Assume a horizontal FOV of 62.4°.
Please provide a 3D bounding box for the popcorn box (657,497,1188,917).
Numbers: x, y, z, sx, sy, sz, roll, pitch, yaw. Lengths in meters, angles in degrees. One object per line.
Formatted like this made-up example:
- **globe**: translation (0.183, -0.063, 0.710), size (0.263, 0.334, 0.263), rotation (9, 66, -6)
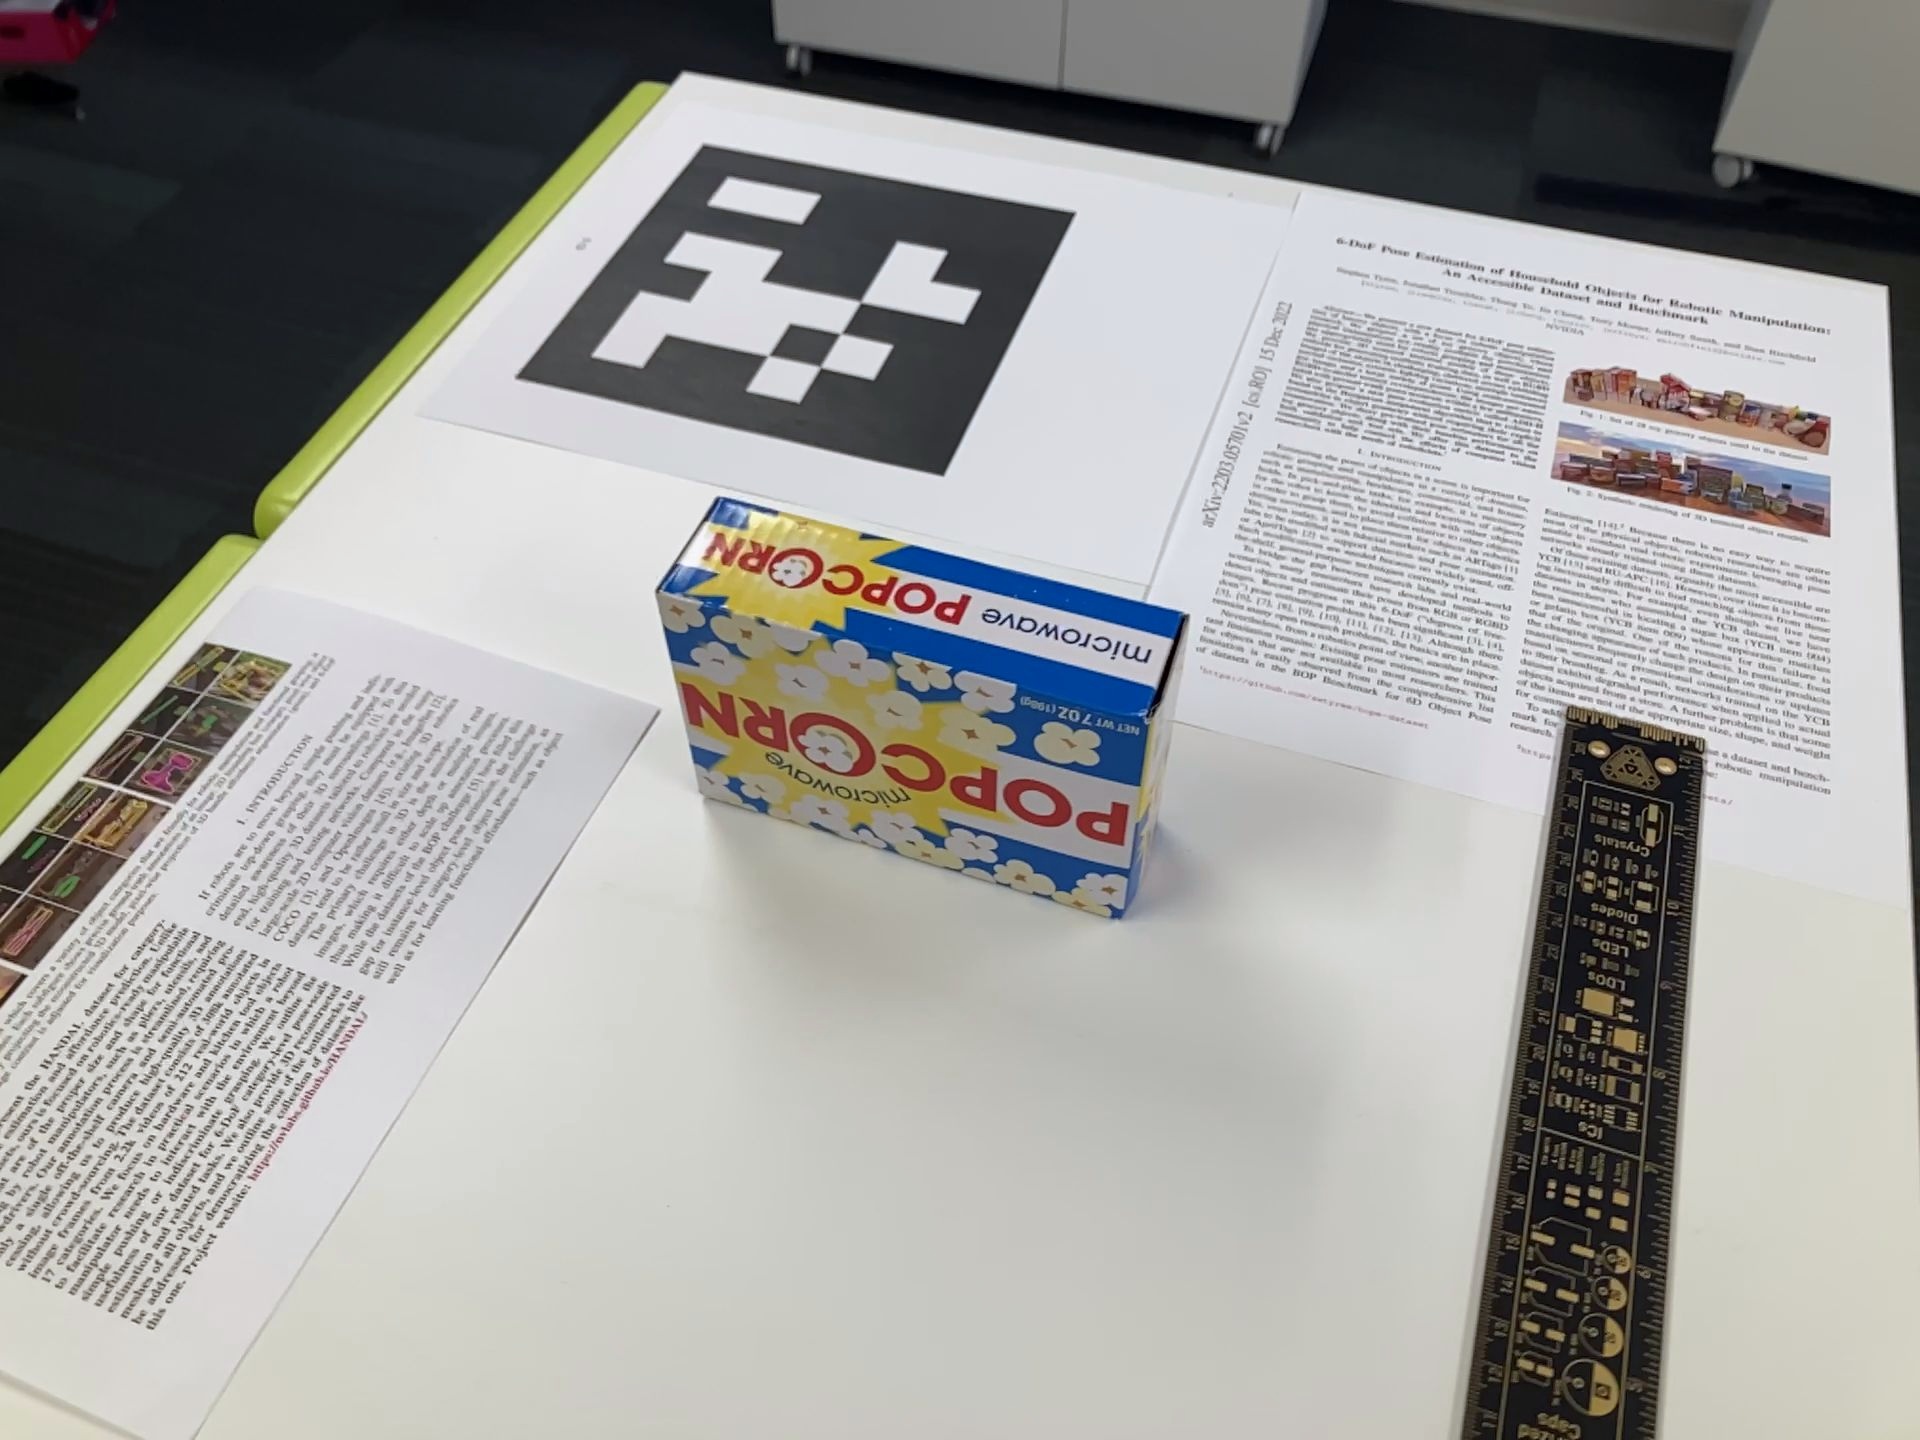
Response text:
- **popcorn box**: translation (-0.009, -0.002, 0.412), size (0.126, 0.085, 0.038), rotation (15, 53, 12)
